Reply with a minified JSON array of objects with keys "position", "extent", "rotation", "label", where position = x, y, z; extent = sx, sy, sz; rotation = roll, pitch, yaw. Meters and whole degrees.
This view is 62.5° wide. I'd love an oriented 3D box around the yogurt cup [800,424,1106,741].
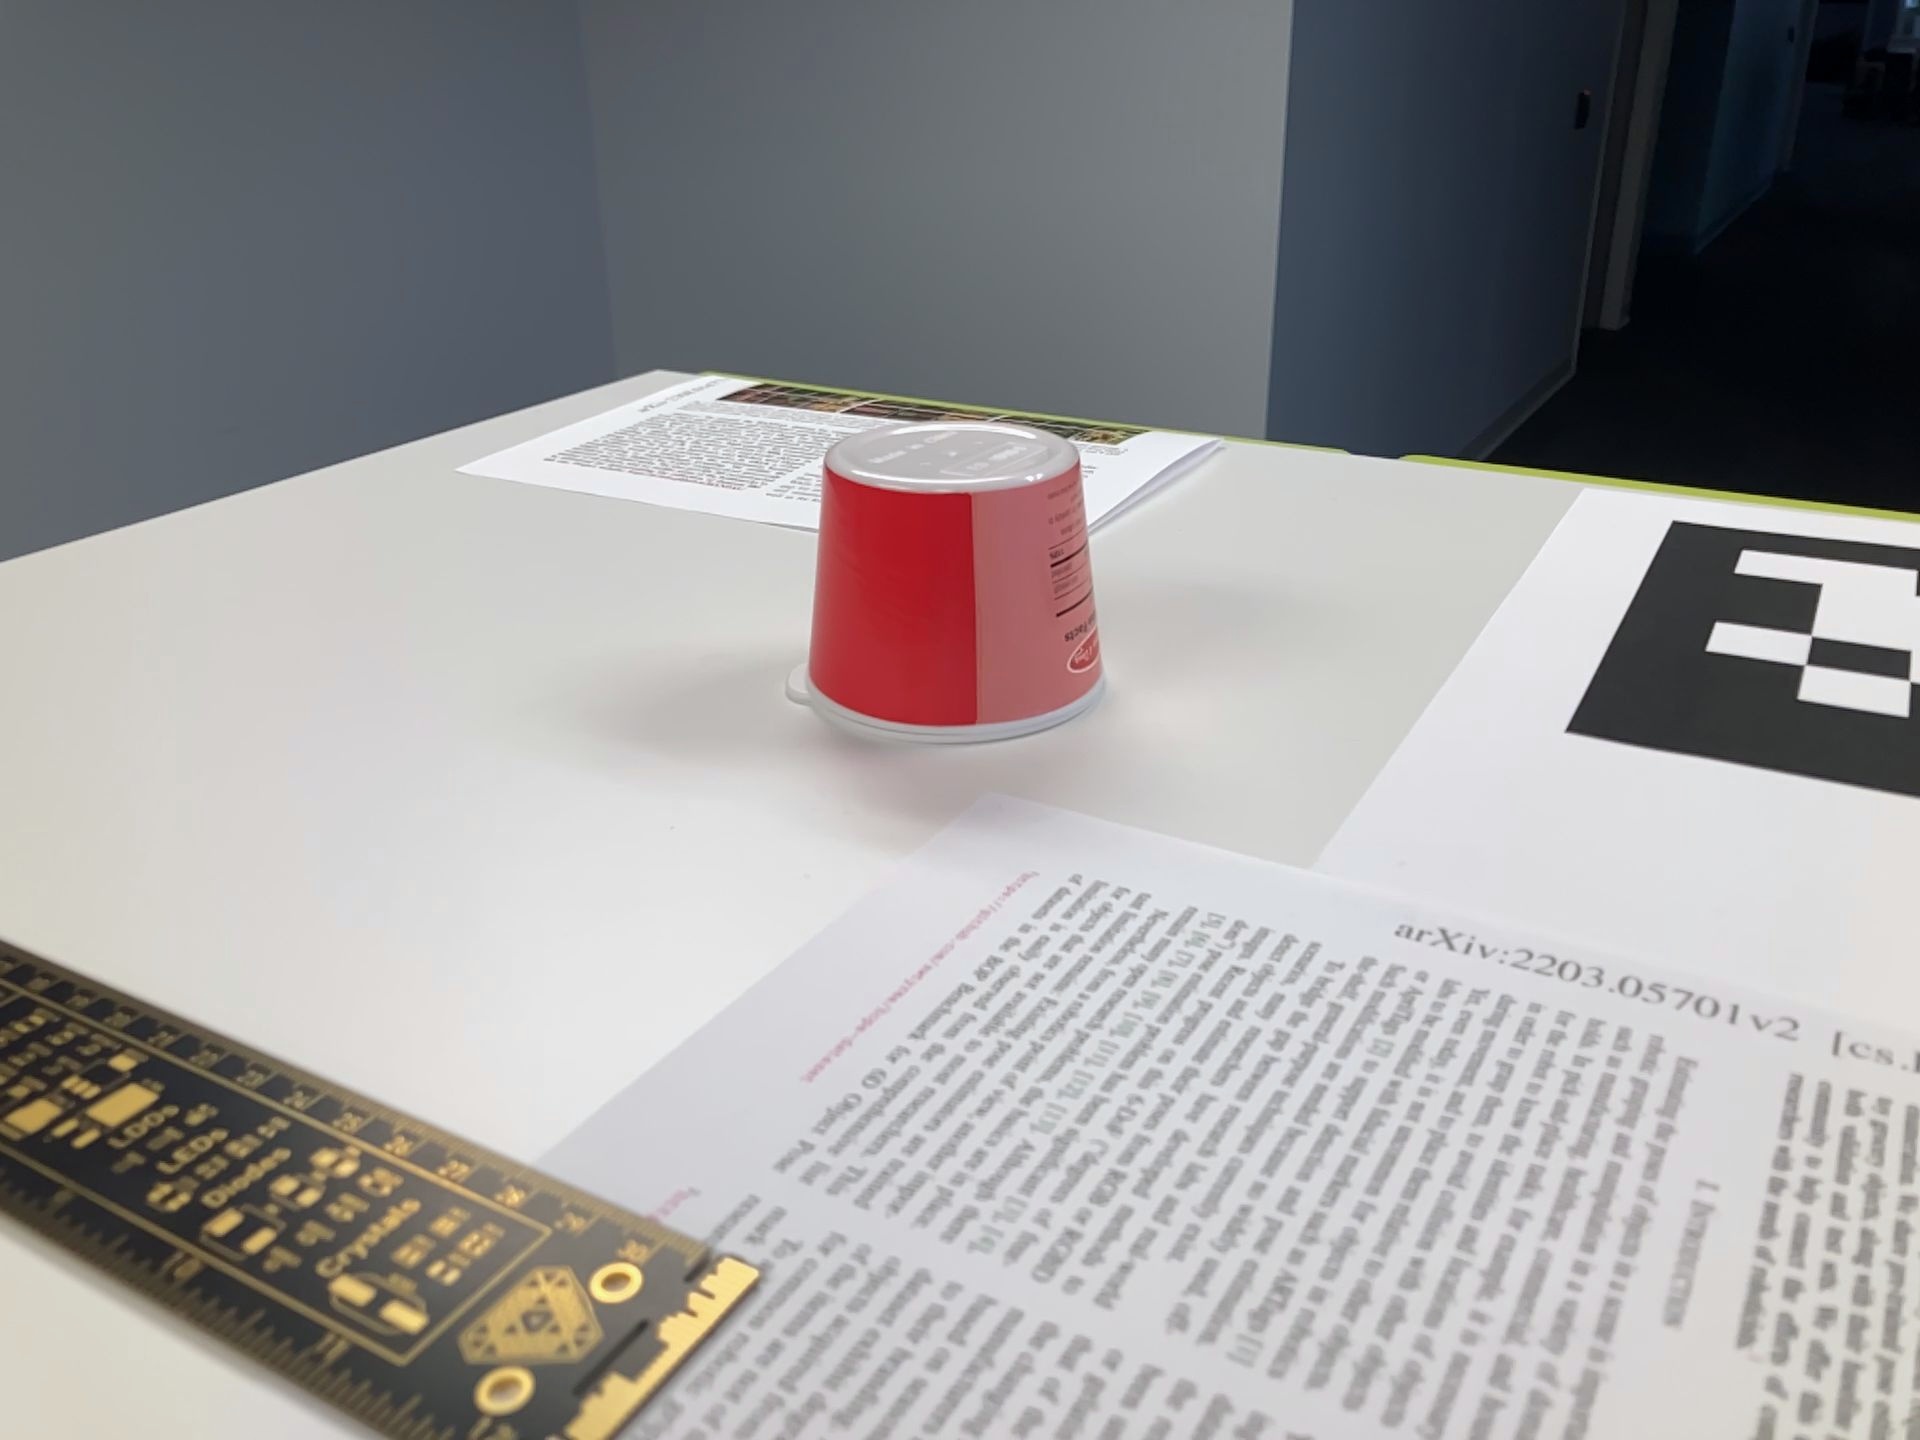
[{"position":[-0.002,-0.033,0.346],"extent":[0.072,0.054,0.072],"rotation":[0,23,0],"label":"yogurt cup"}]
